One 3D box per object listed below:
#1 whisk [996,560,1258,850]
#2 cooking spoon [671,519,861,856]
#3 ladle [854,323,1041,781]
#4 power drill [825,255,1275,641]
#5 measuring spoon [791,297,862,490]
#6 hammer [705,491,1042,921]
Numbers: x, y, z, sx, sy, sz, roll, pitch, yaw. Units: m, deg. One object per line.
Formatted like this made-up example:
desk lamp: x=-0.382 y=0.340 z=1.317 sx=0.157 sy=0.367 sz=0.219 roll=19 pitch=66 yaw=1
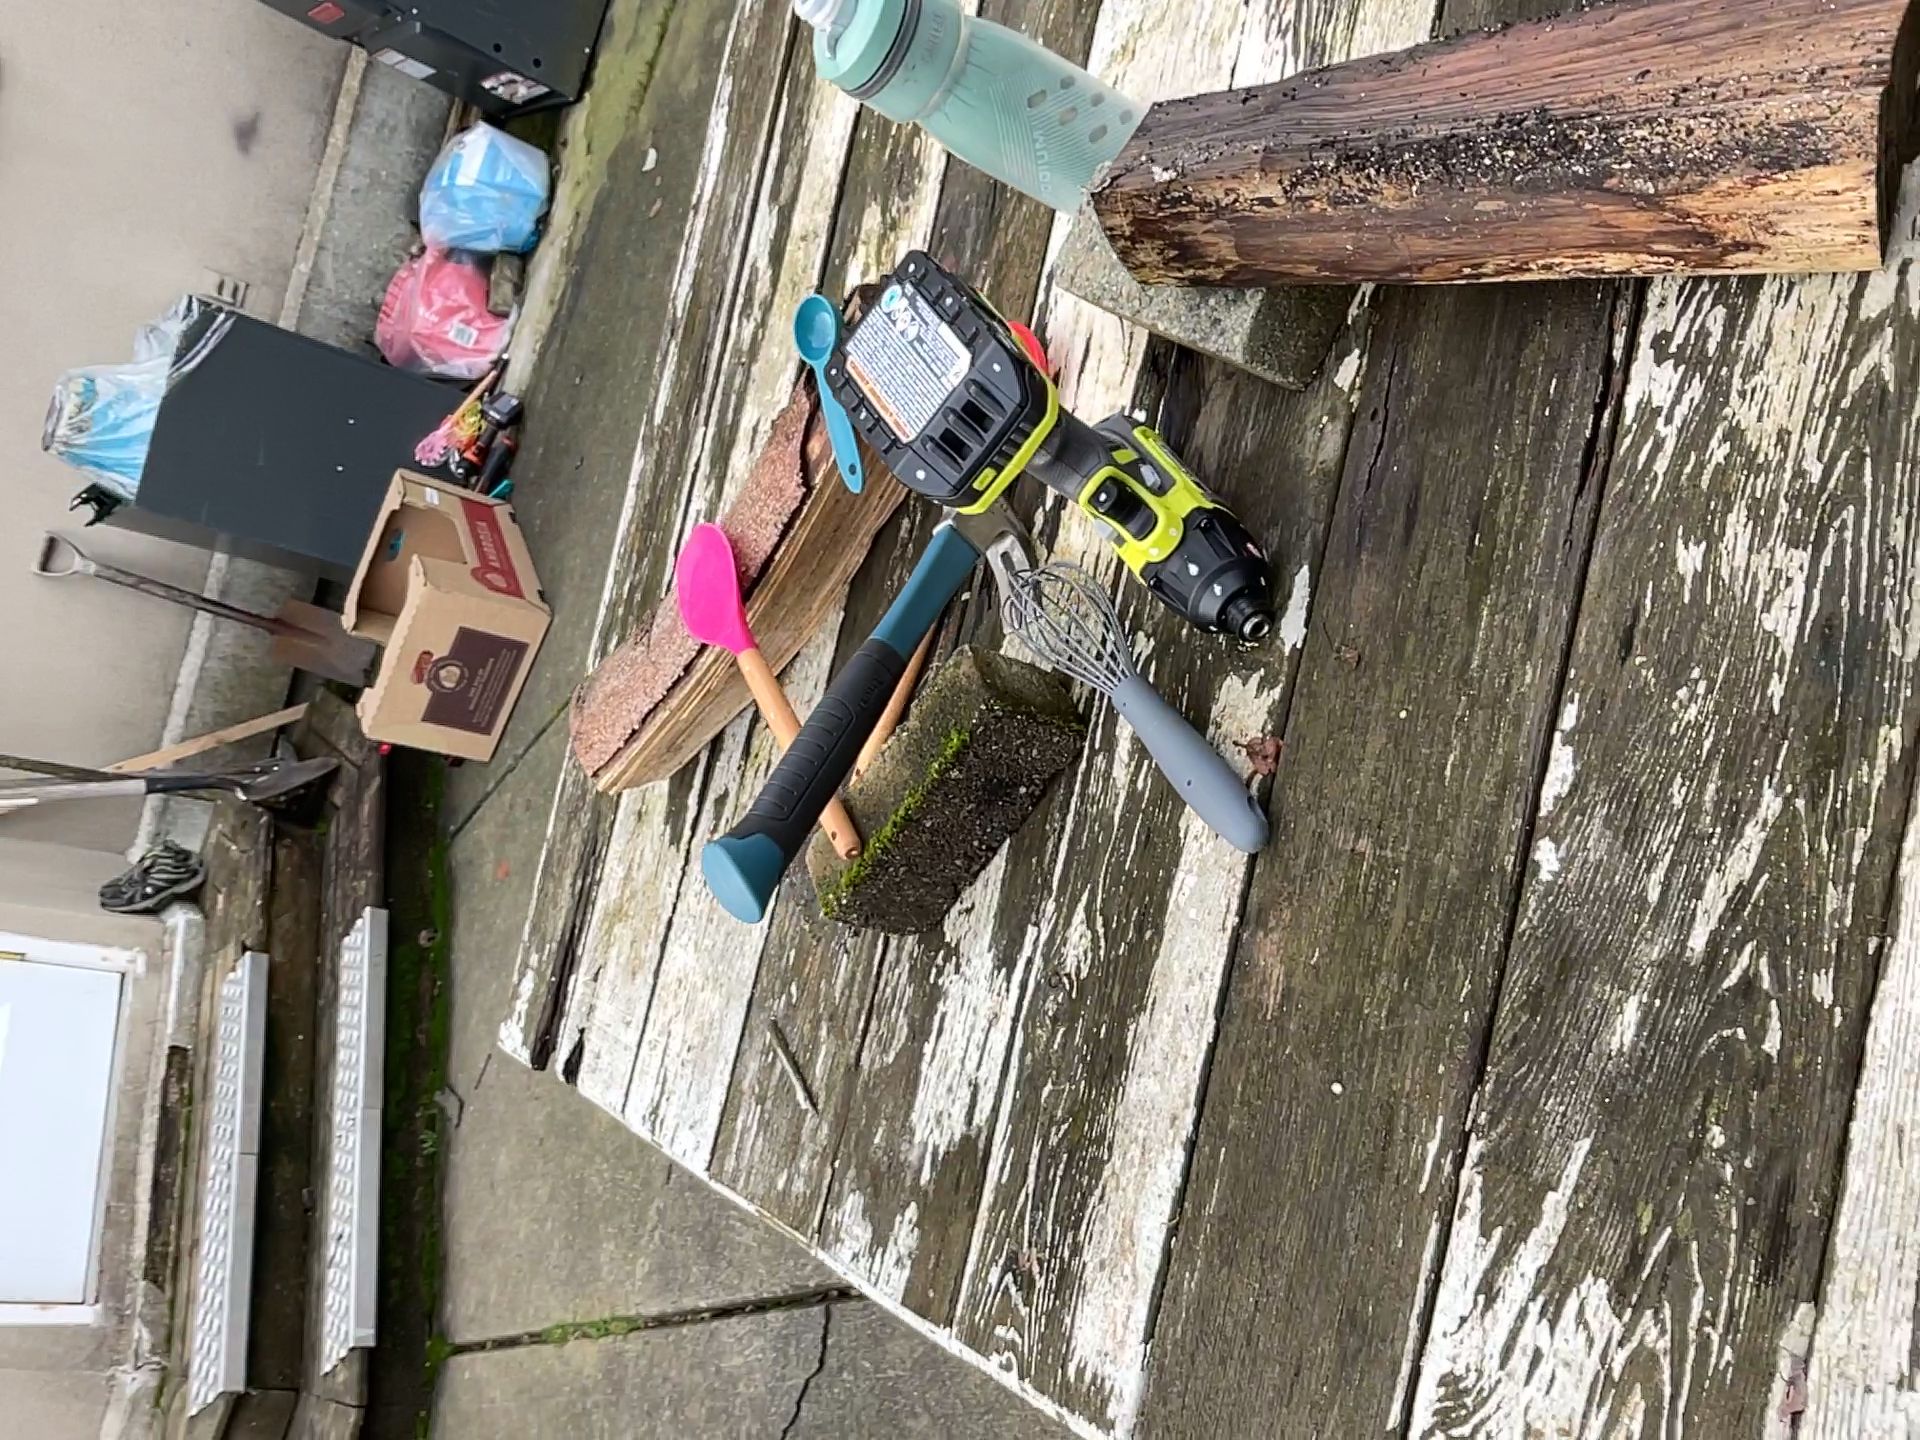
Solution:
whisk: x=0.086 y=-0.012 z=0.839 sx=0.239 sy=0.055 sz=0.055 roll=55 pitch=129 yaw=43
cooking spoon: x=-0.128 y=-0.027 z=1.018 sx=0.069 sy=0.017 sz=0.319 roll=-55 pitch=45 yaw=23
ladle: x=-0.011 y=-0.099 z=1.026 sx=0.069 sy=0.031 sz=0.315 roll=34 pitch=108 yaw=50
power drill: x=0.056 y=-0.123 z=0.780 sx=0.080 sy=0.222 sz=0.171 roll=-51 pitch=43 yaw=18
measuring spoon: x=-0.077 y=-0.209 z=1.023 sx=0.042 sy=0.021 sz=0.129 roll=-20 pitch=83 yaw=48
hammer: x=-0.047 y=-0.027 z=0.879 sx=0.033 sy=0.128 sz=0.331 roll=-29 pitch=24 yaw=47
